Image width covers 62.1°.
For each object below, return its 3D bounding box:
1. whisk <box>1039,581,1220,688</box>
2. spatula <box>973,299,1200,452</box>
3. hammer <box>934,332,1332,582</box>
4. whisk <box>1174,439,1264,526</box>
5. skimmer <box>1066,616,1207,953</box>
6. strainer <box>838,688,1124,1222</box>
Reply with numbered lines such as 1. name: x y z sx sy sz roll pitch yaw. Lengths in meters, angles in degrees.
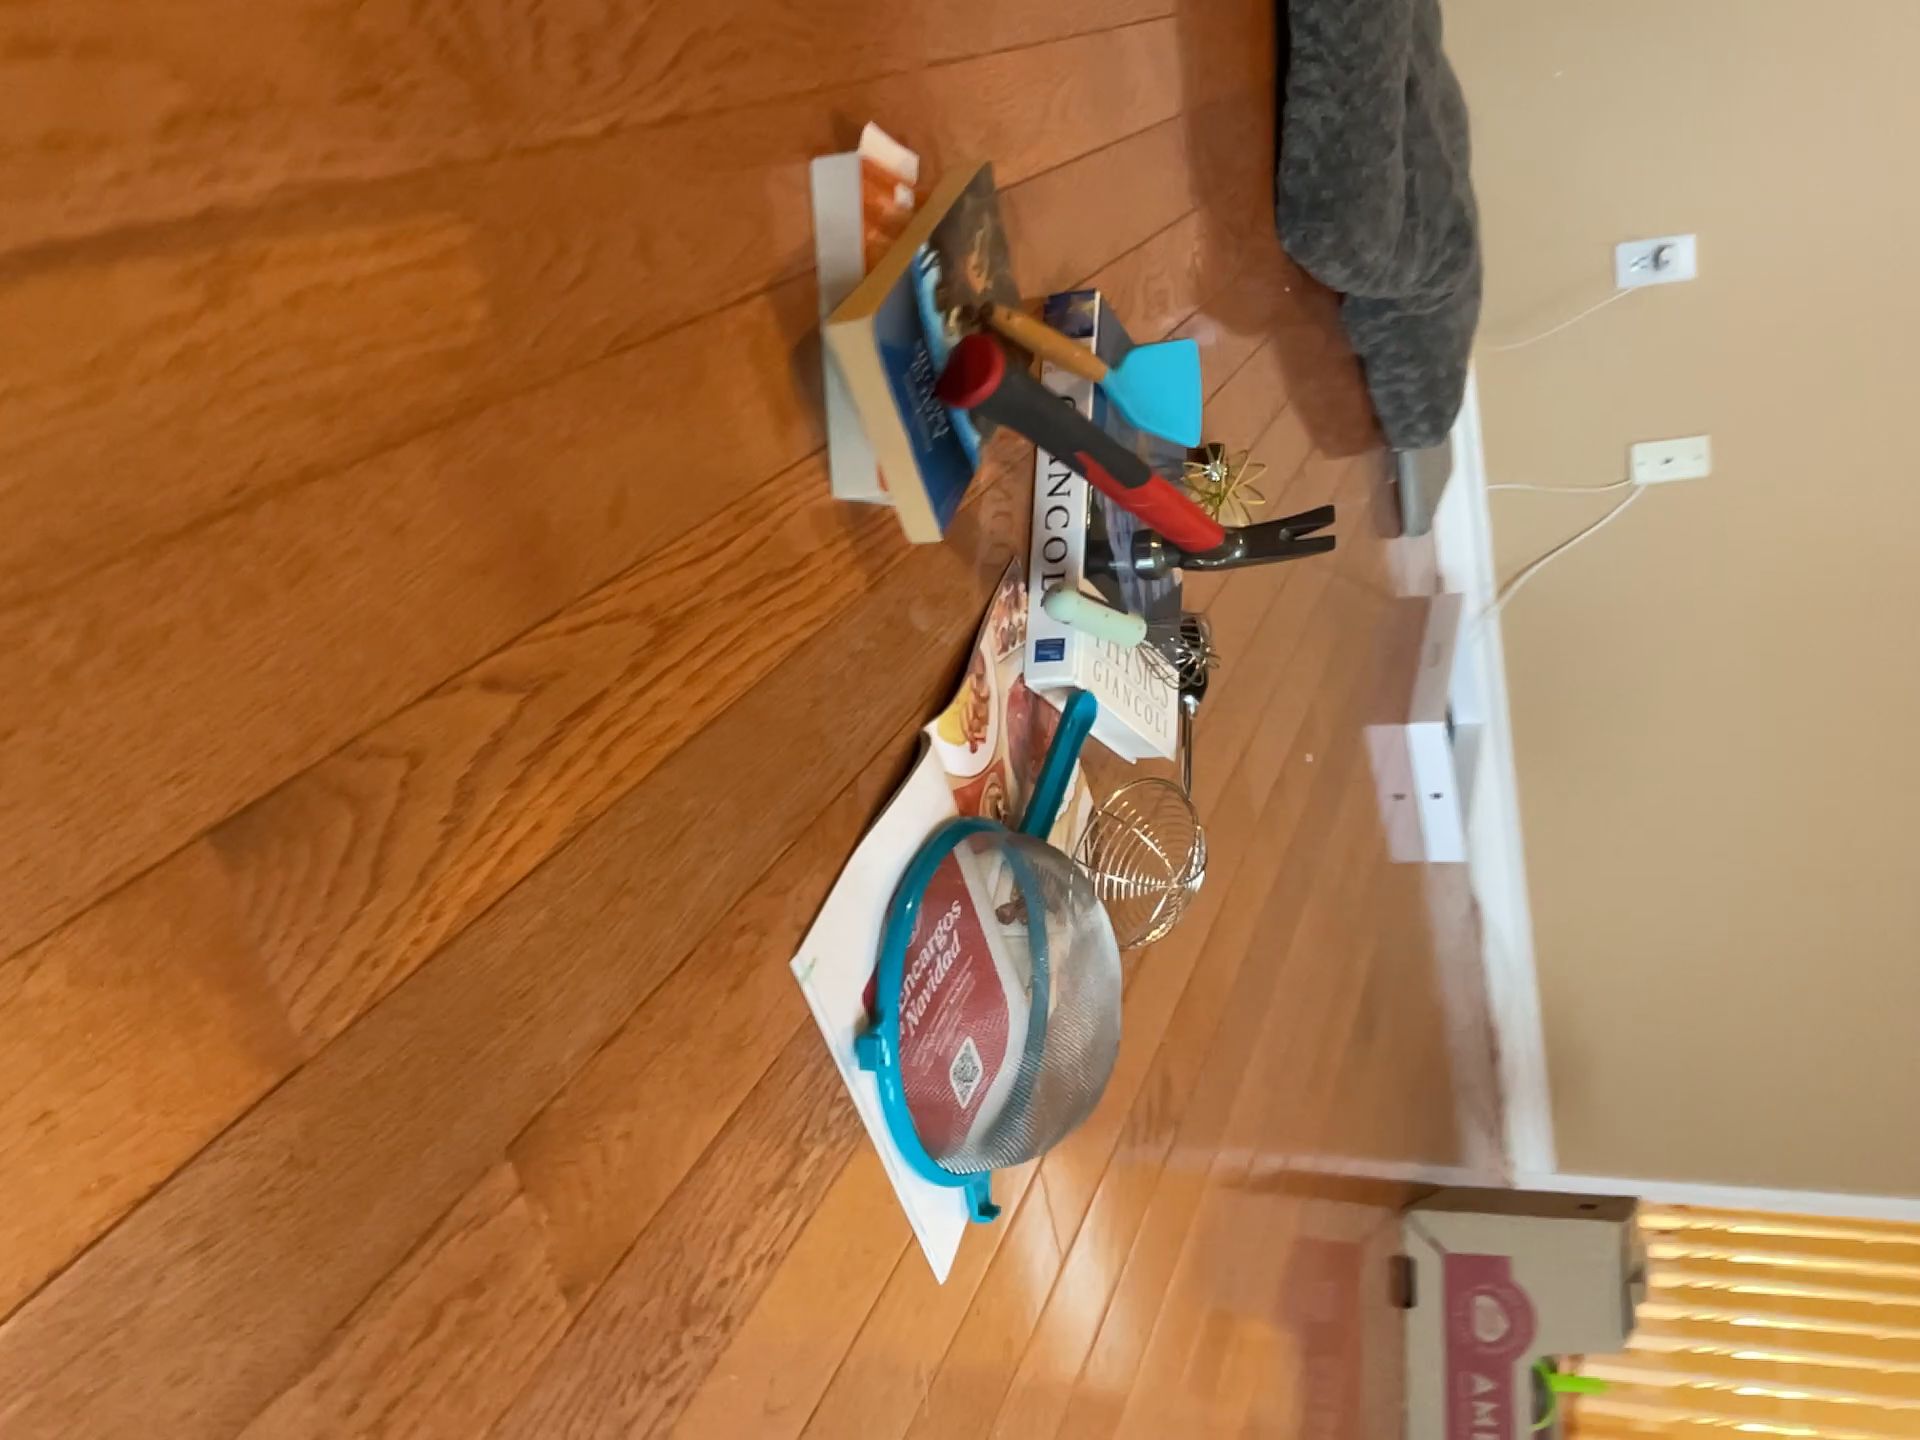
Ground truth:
1. whisk: 0.116 -0.061 1.077 0.246 0.058 0.059 13 106 -59
2. spatula: 0.087 -0.231 1.021 0.318 0.044 0.082 -3 92 -65
3. hammer: 0.108 -0.152 0.966 0.386 0.143 0.038 19 68 -61
4. whisk: 0.212 -0.204 1.320 0.080 0.067 0.312 64 15 -12
5. skimmer: 0.144 0.028 1.225 0.364 0.090 0.127 -76 150 -54
6. strainer: 0.058 0.112 0.931 0.341 0.095 0.211 -64 143 -34
